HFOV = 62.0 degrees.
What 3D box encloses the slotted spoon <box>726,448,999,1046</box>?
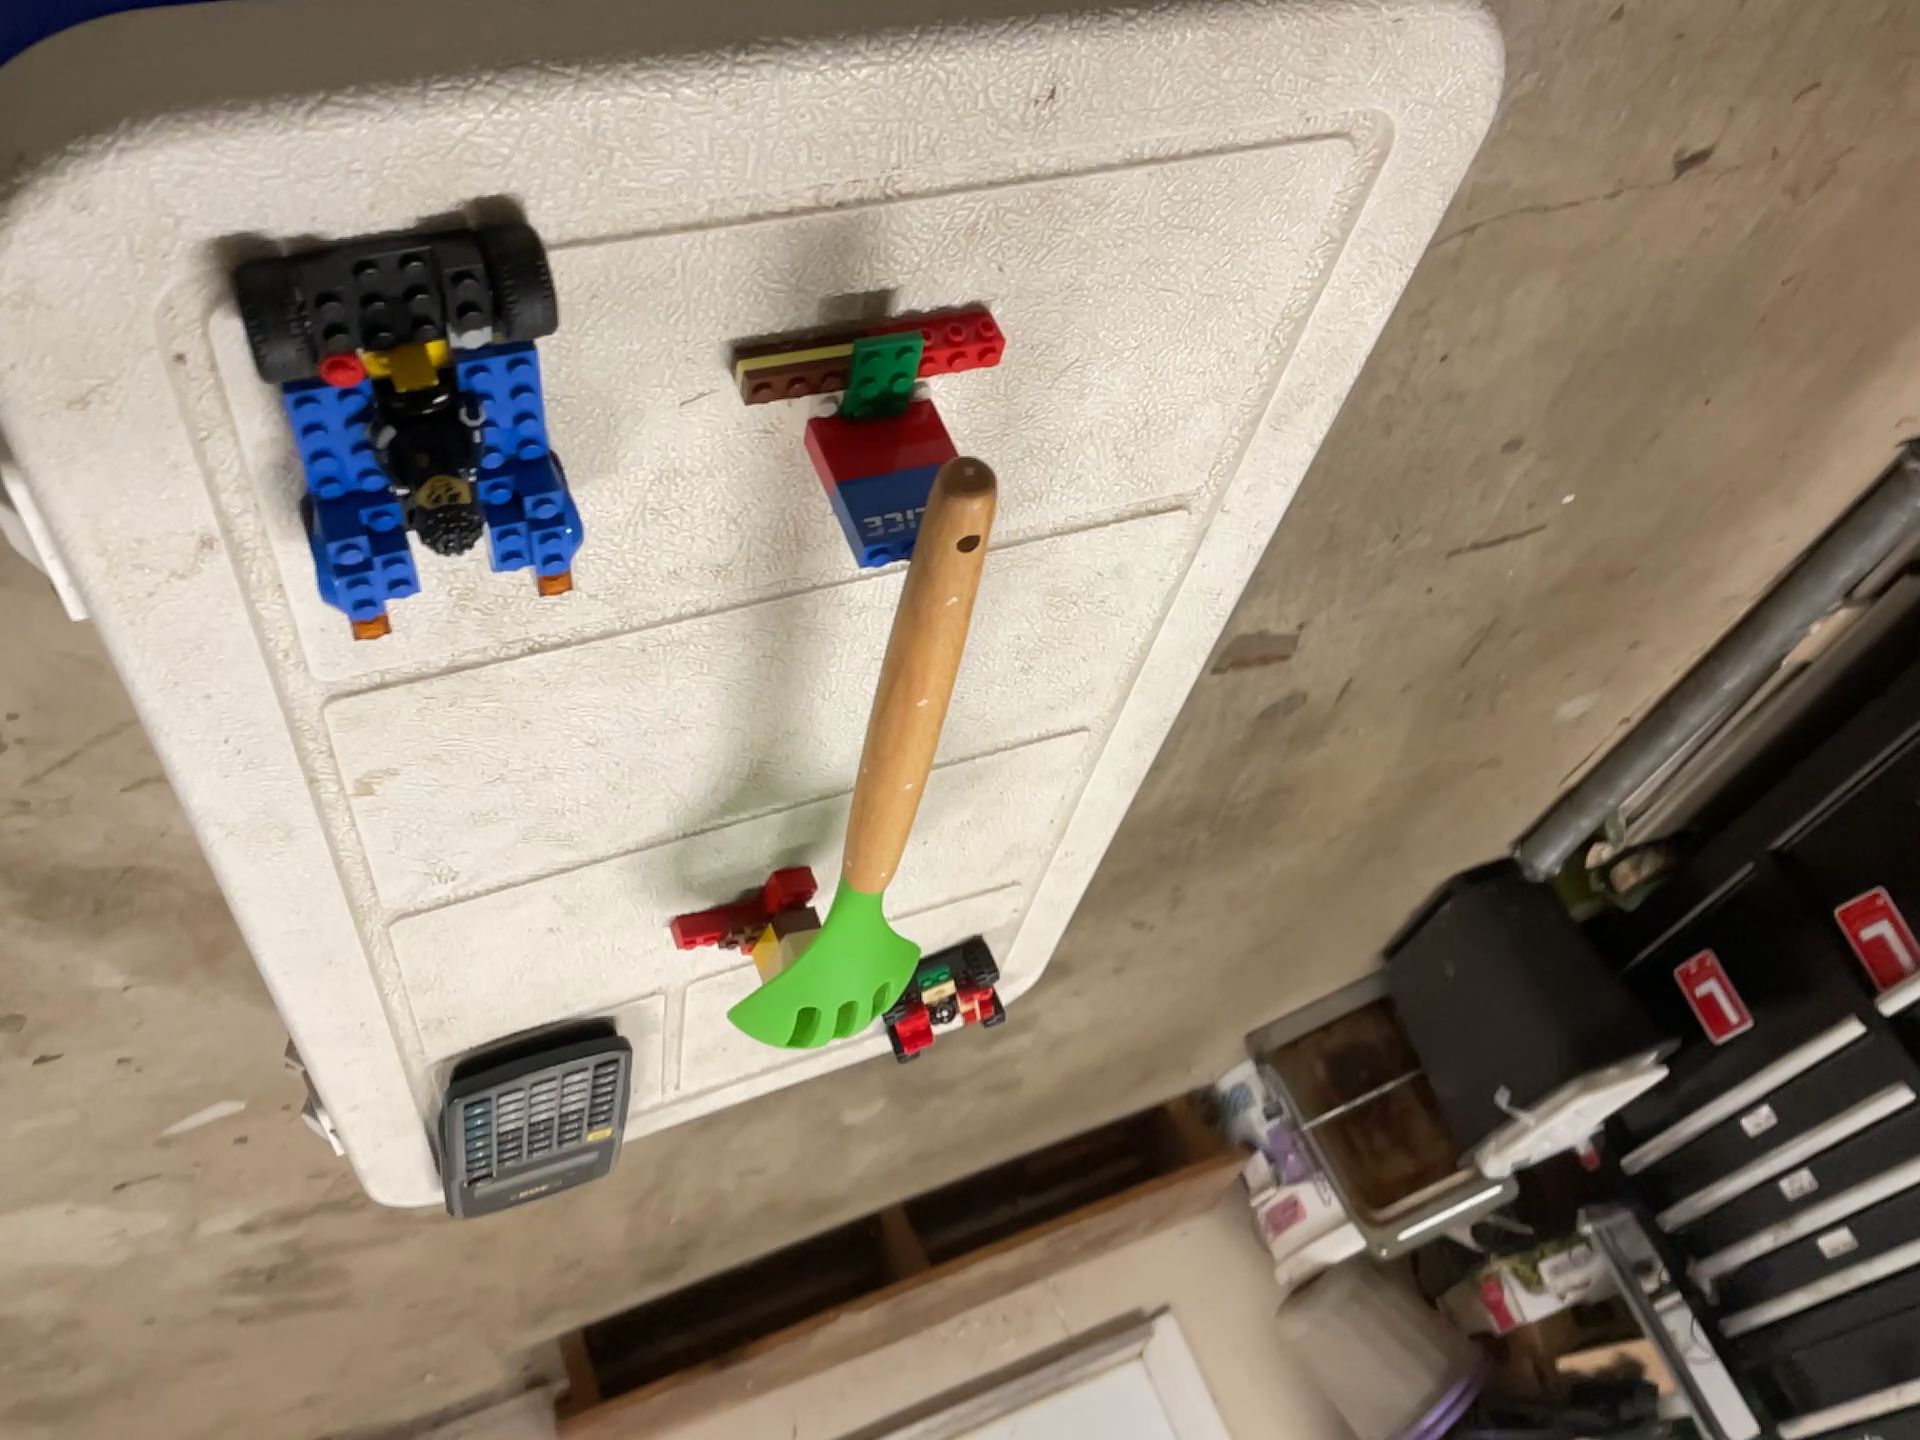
[{"bbox_3d":[-0.026,0.031,0.453,0.070,0.031,0.313,-14,152,-19],"label":"slotted spoon"}]
